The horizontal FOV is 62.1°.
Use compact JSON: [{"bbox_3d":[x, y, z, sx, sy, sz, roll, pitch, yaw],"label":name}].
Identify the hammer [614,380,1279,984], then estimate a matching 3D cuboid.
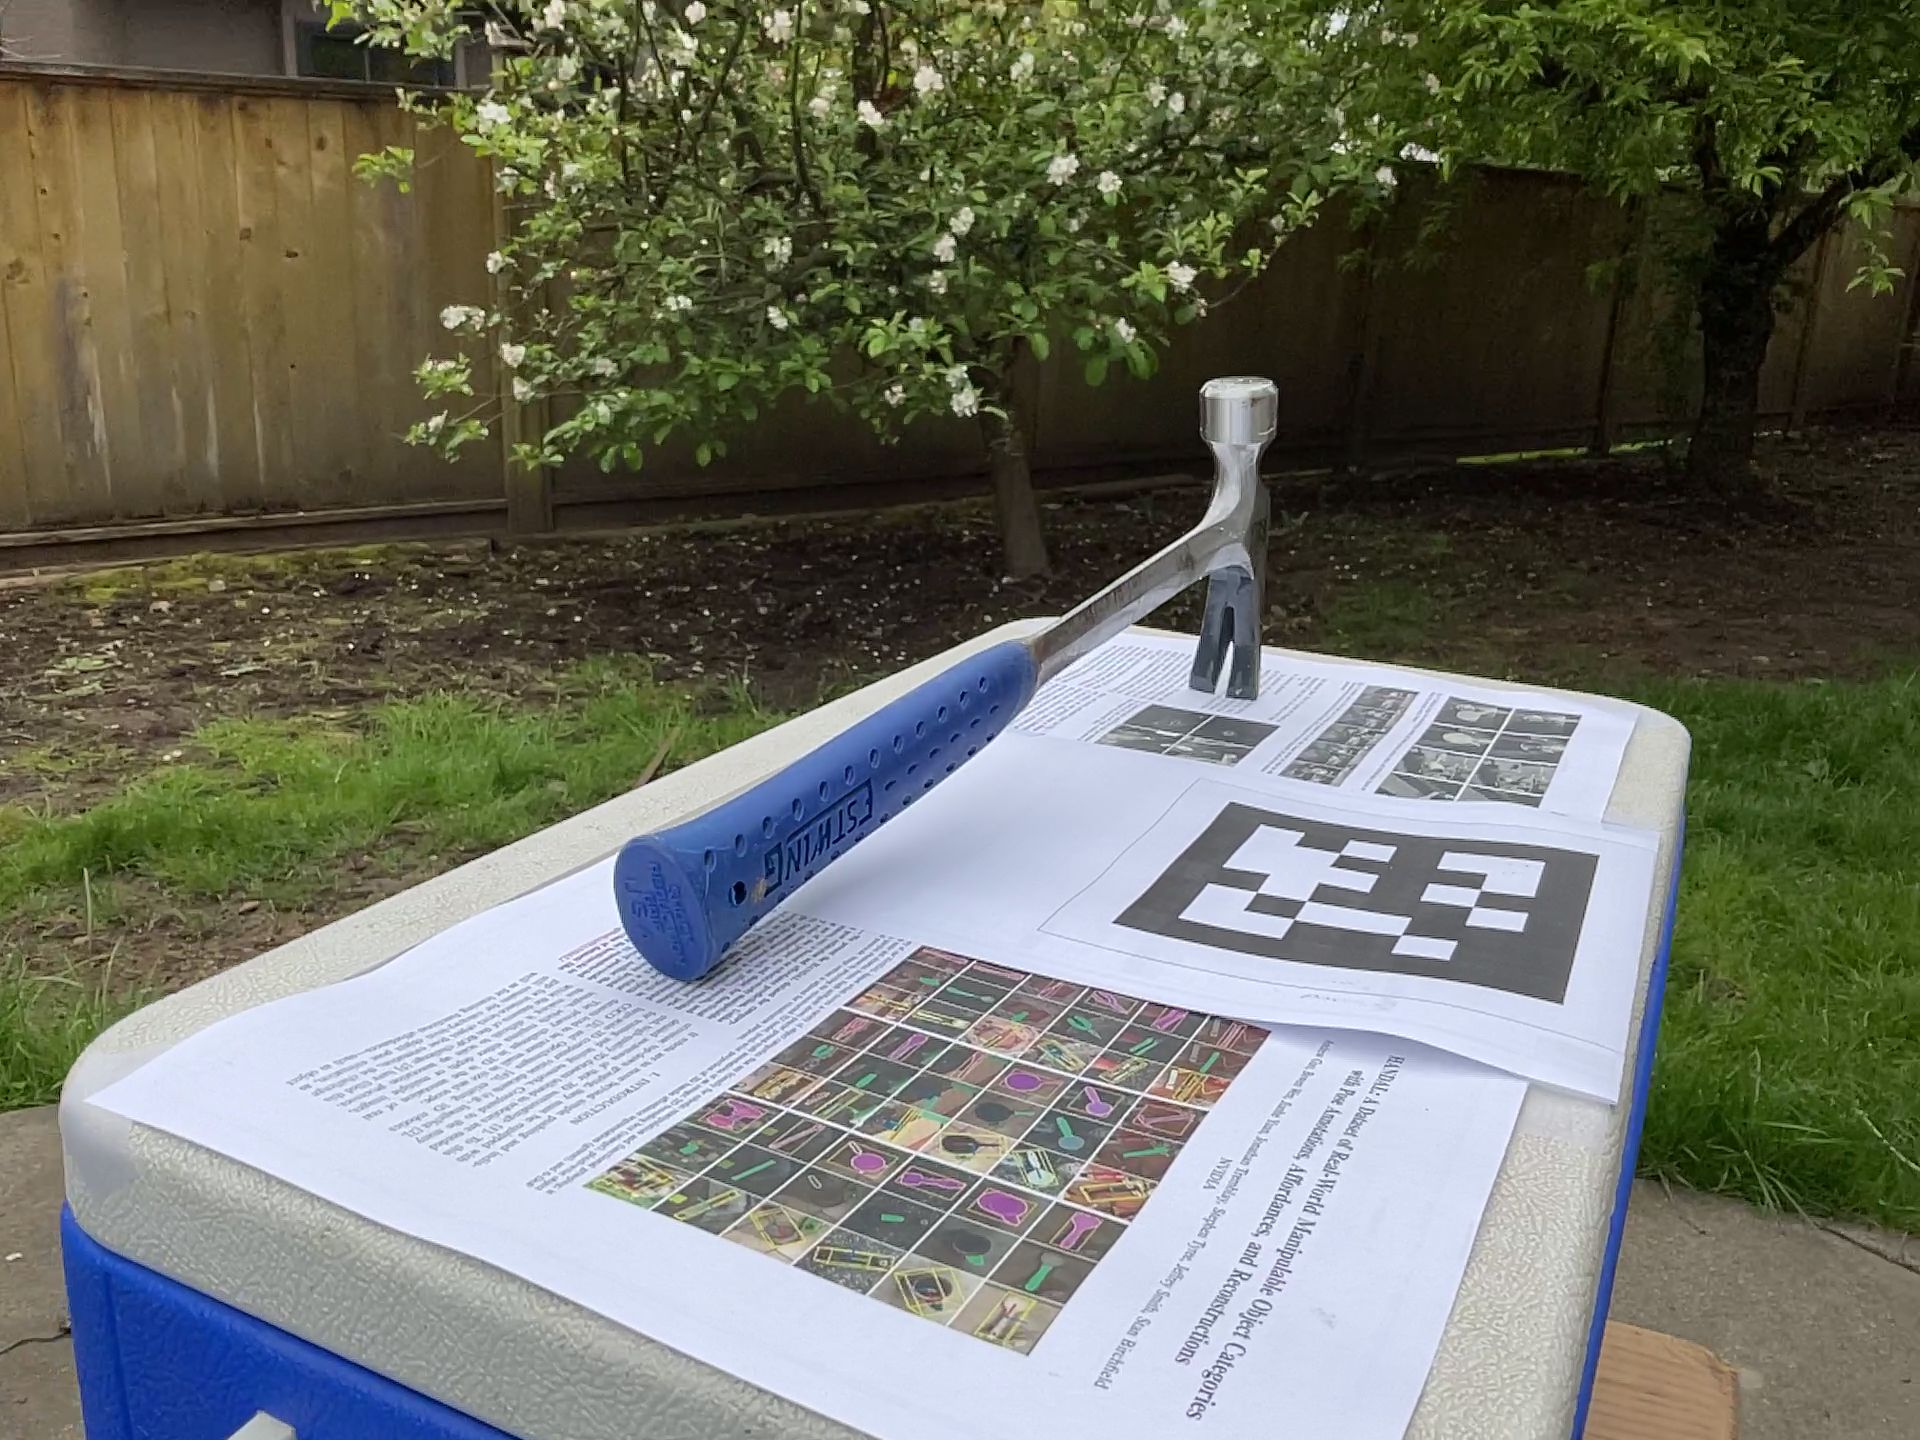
[{"bbox_3d":[0.028,-0.014,0.585,0.035,0.144,0.405,11,27,31],"label":"hammer"}]
